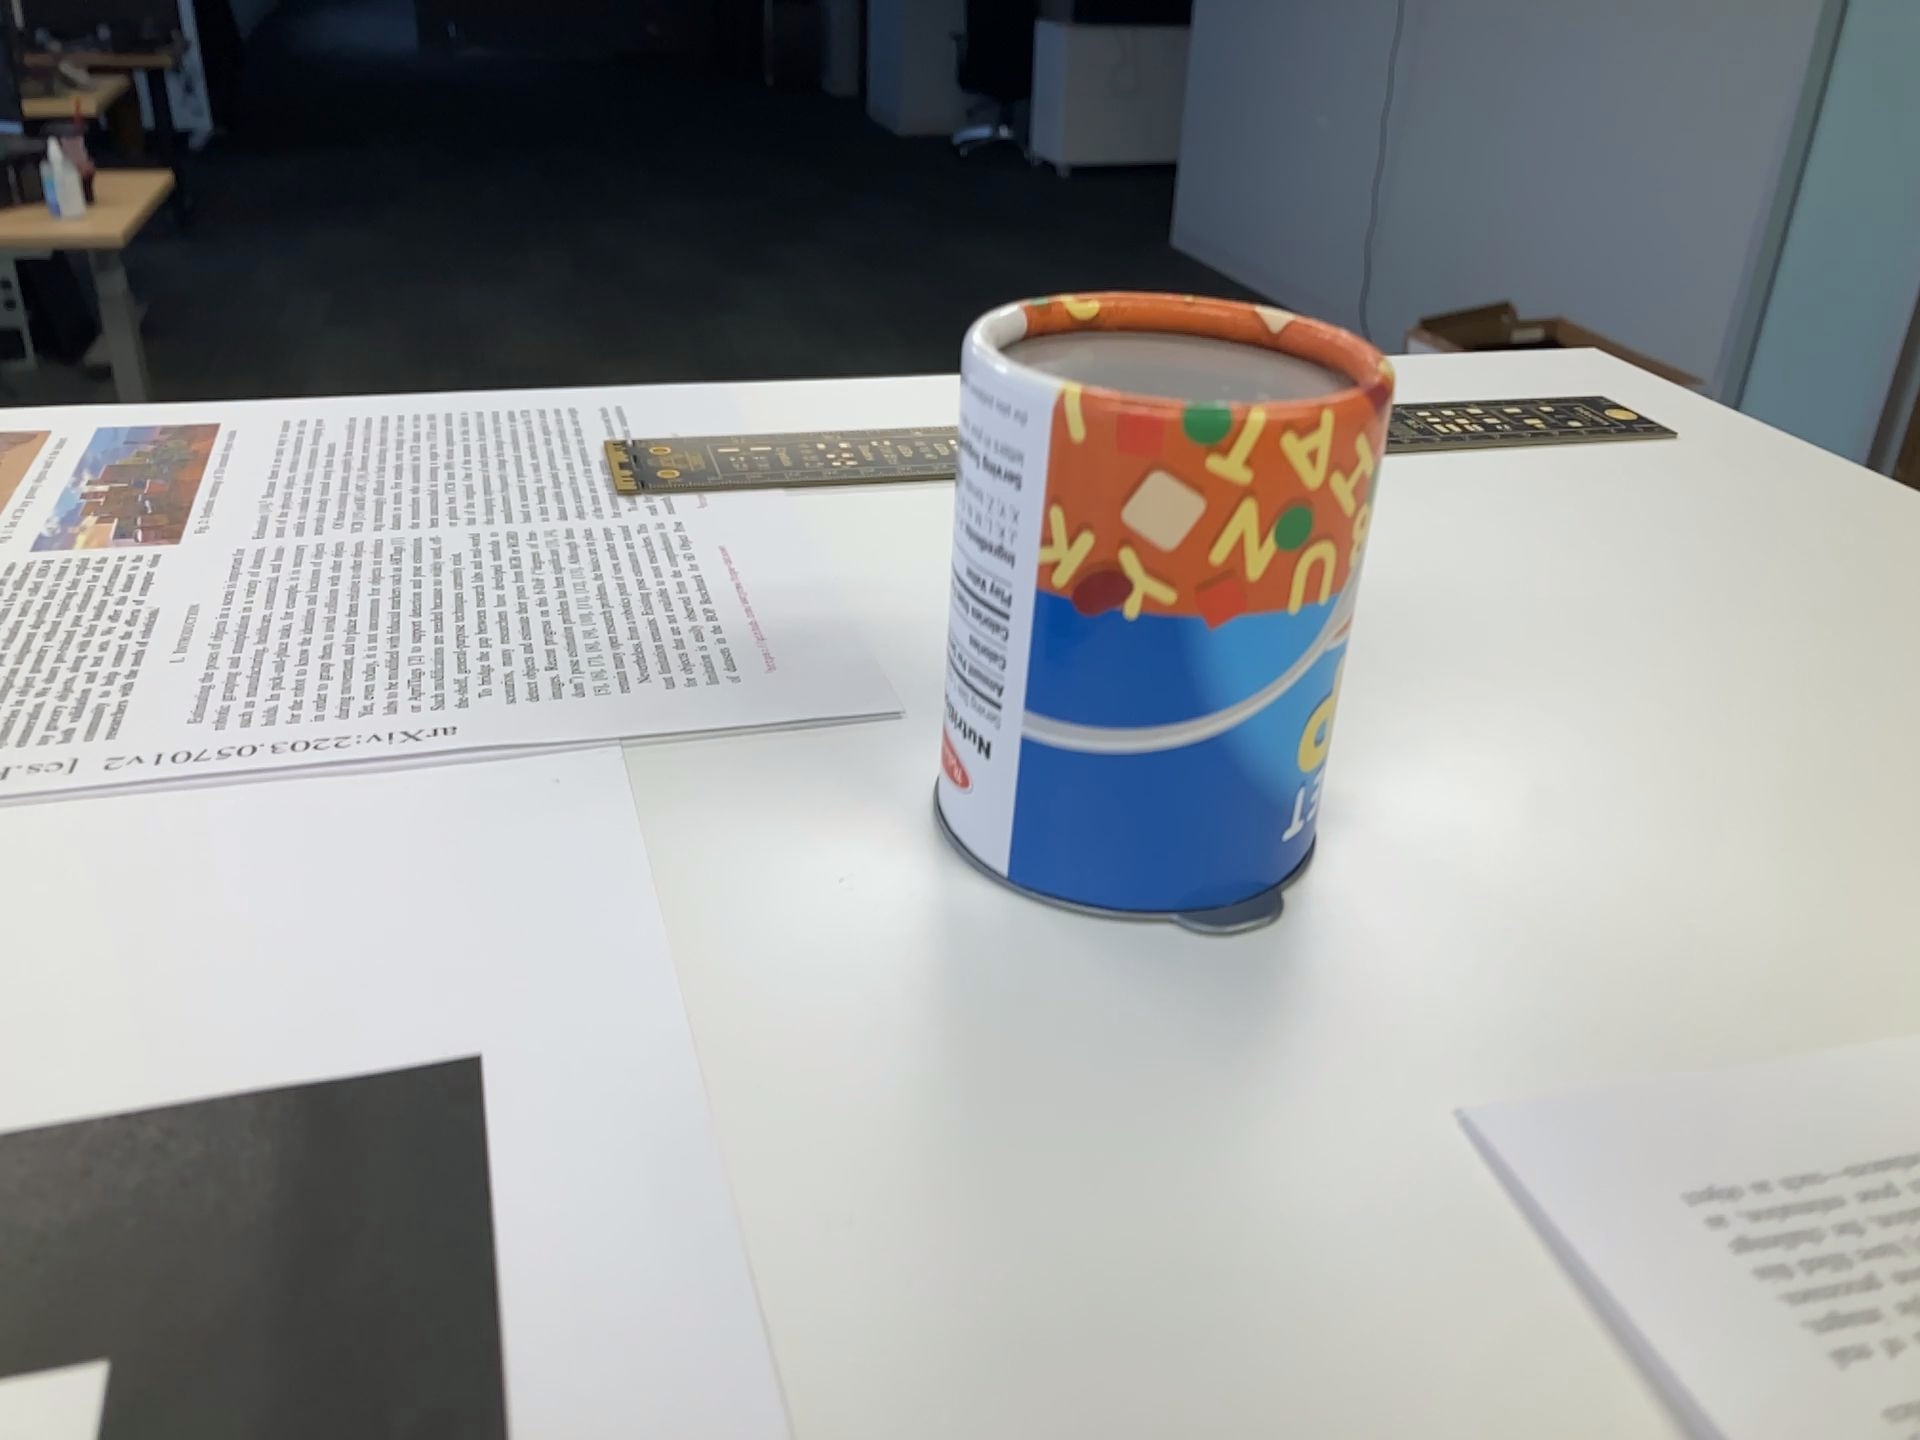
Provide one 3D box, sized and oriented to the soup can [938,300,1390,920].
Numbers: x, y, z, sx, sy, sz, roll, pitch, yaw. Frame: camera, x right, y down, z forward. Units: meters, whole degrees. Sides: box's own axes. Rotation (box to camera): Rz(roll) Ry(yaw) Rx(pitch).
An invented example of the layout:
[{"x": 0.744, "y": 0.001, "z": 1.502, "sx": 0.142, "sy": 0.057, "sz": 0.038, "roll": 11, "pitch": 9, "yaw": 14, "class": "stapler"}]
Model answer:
[{"x": 0.034, "y": -0.020, "z": 0.263, "sx": 0.071, "sy": 0.084, "sz": 0.071, "roll": 3, "pitch": 28, "yaw": -1, "class": "soup can"}]
